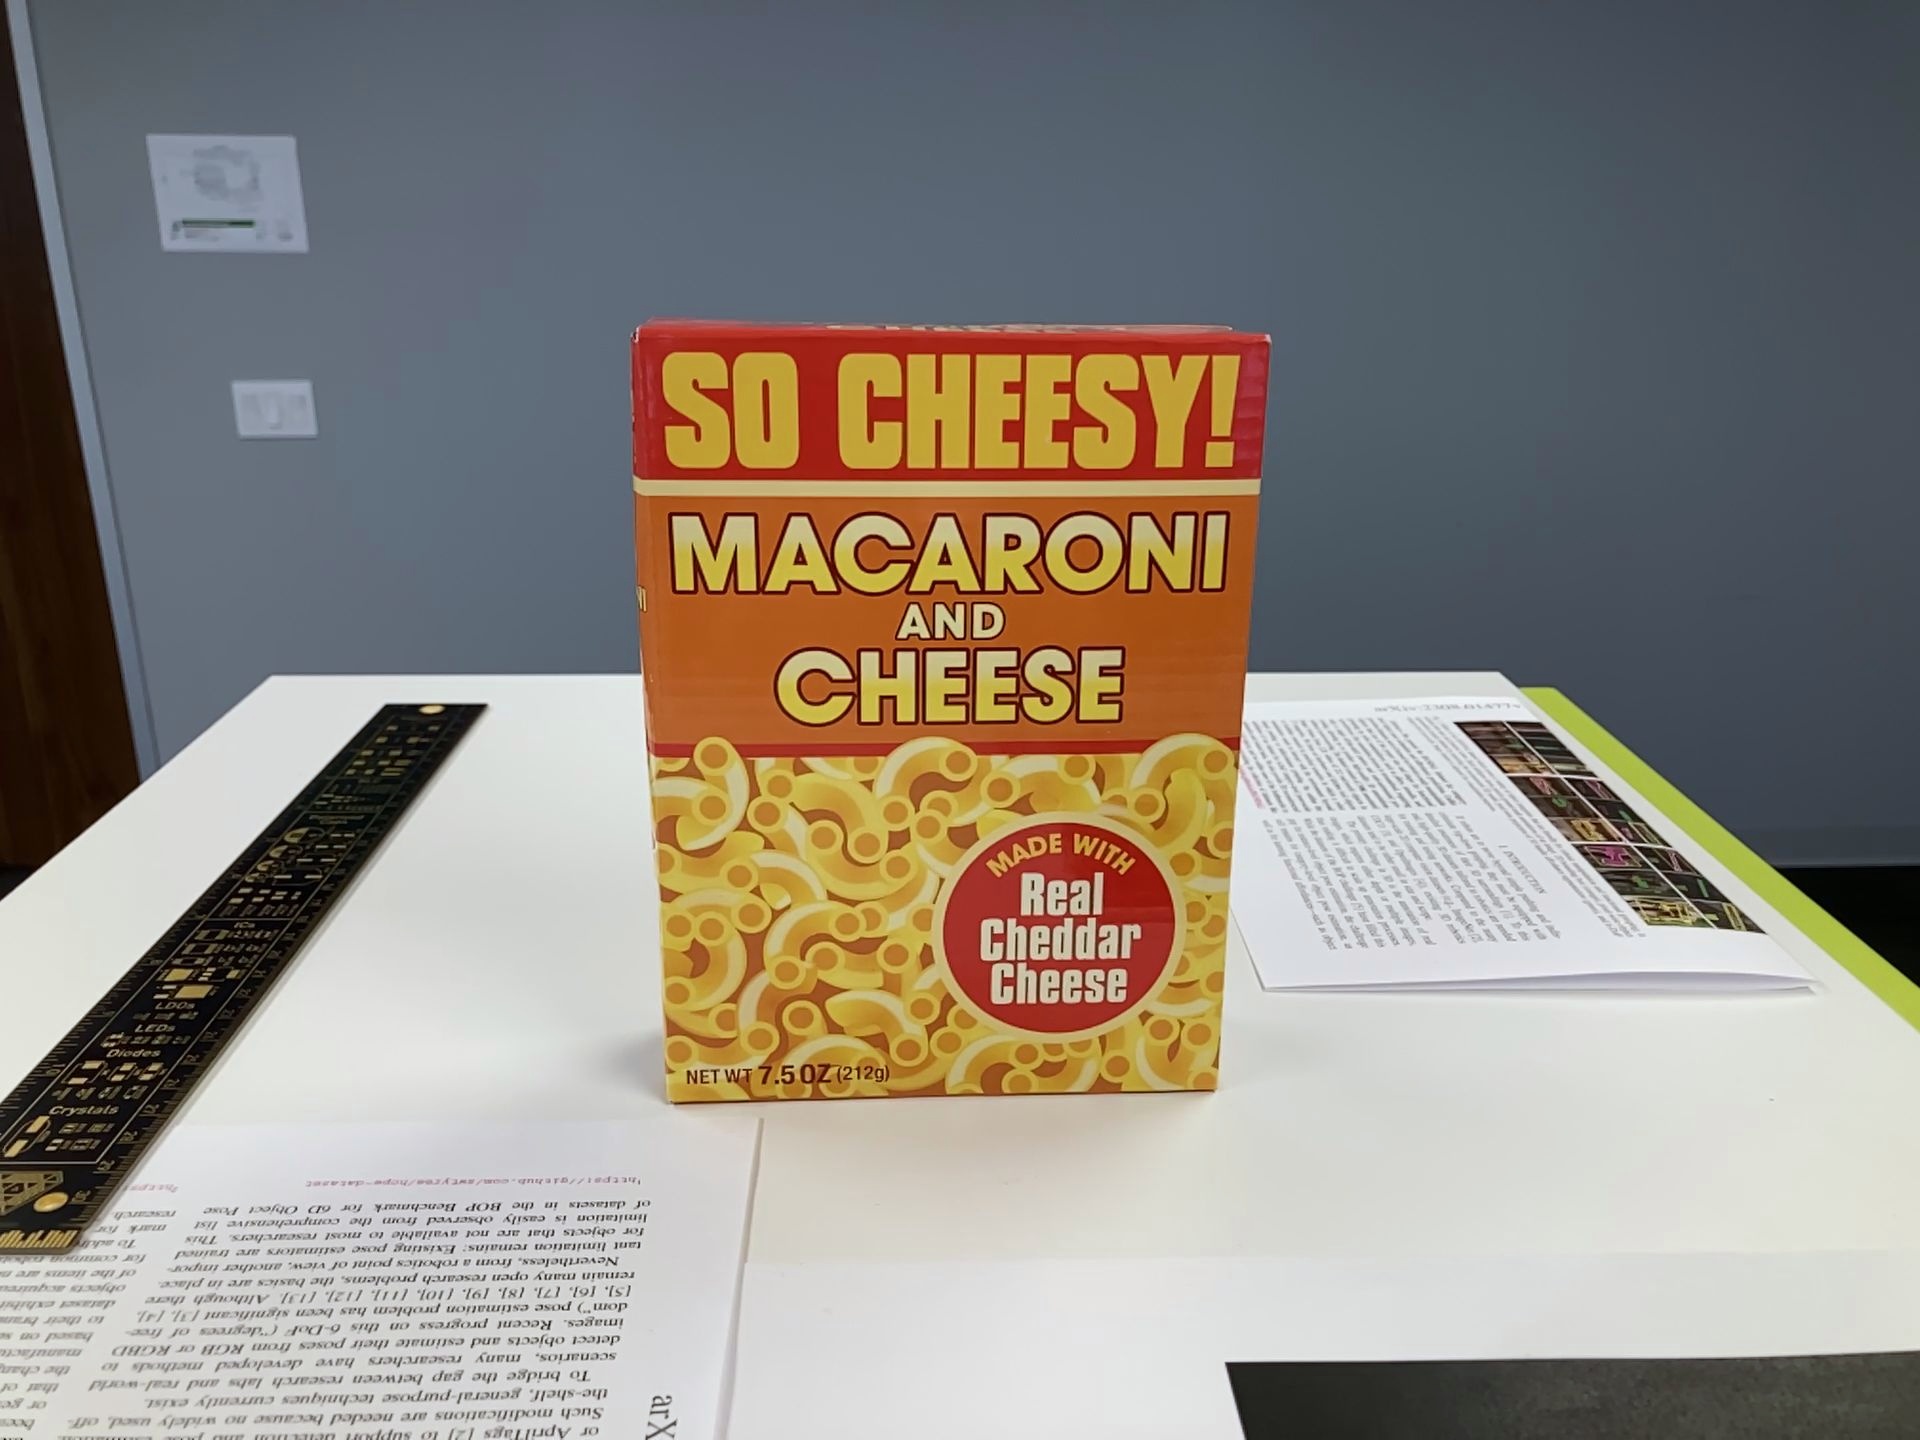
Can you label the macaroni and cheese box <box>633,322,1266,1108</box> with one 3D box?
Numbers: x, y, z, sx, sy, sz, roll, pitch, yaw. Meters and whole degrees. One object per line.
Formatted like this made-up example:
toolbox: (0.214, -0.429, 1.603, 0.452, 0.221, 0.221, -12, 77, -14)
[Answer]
macaroni and cheese box: (-0.004, 0.000, 0.344, 0.124, 0.166, 0.040, -1, 19, -5)
